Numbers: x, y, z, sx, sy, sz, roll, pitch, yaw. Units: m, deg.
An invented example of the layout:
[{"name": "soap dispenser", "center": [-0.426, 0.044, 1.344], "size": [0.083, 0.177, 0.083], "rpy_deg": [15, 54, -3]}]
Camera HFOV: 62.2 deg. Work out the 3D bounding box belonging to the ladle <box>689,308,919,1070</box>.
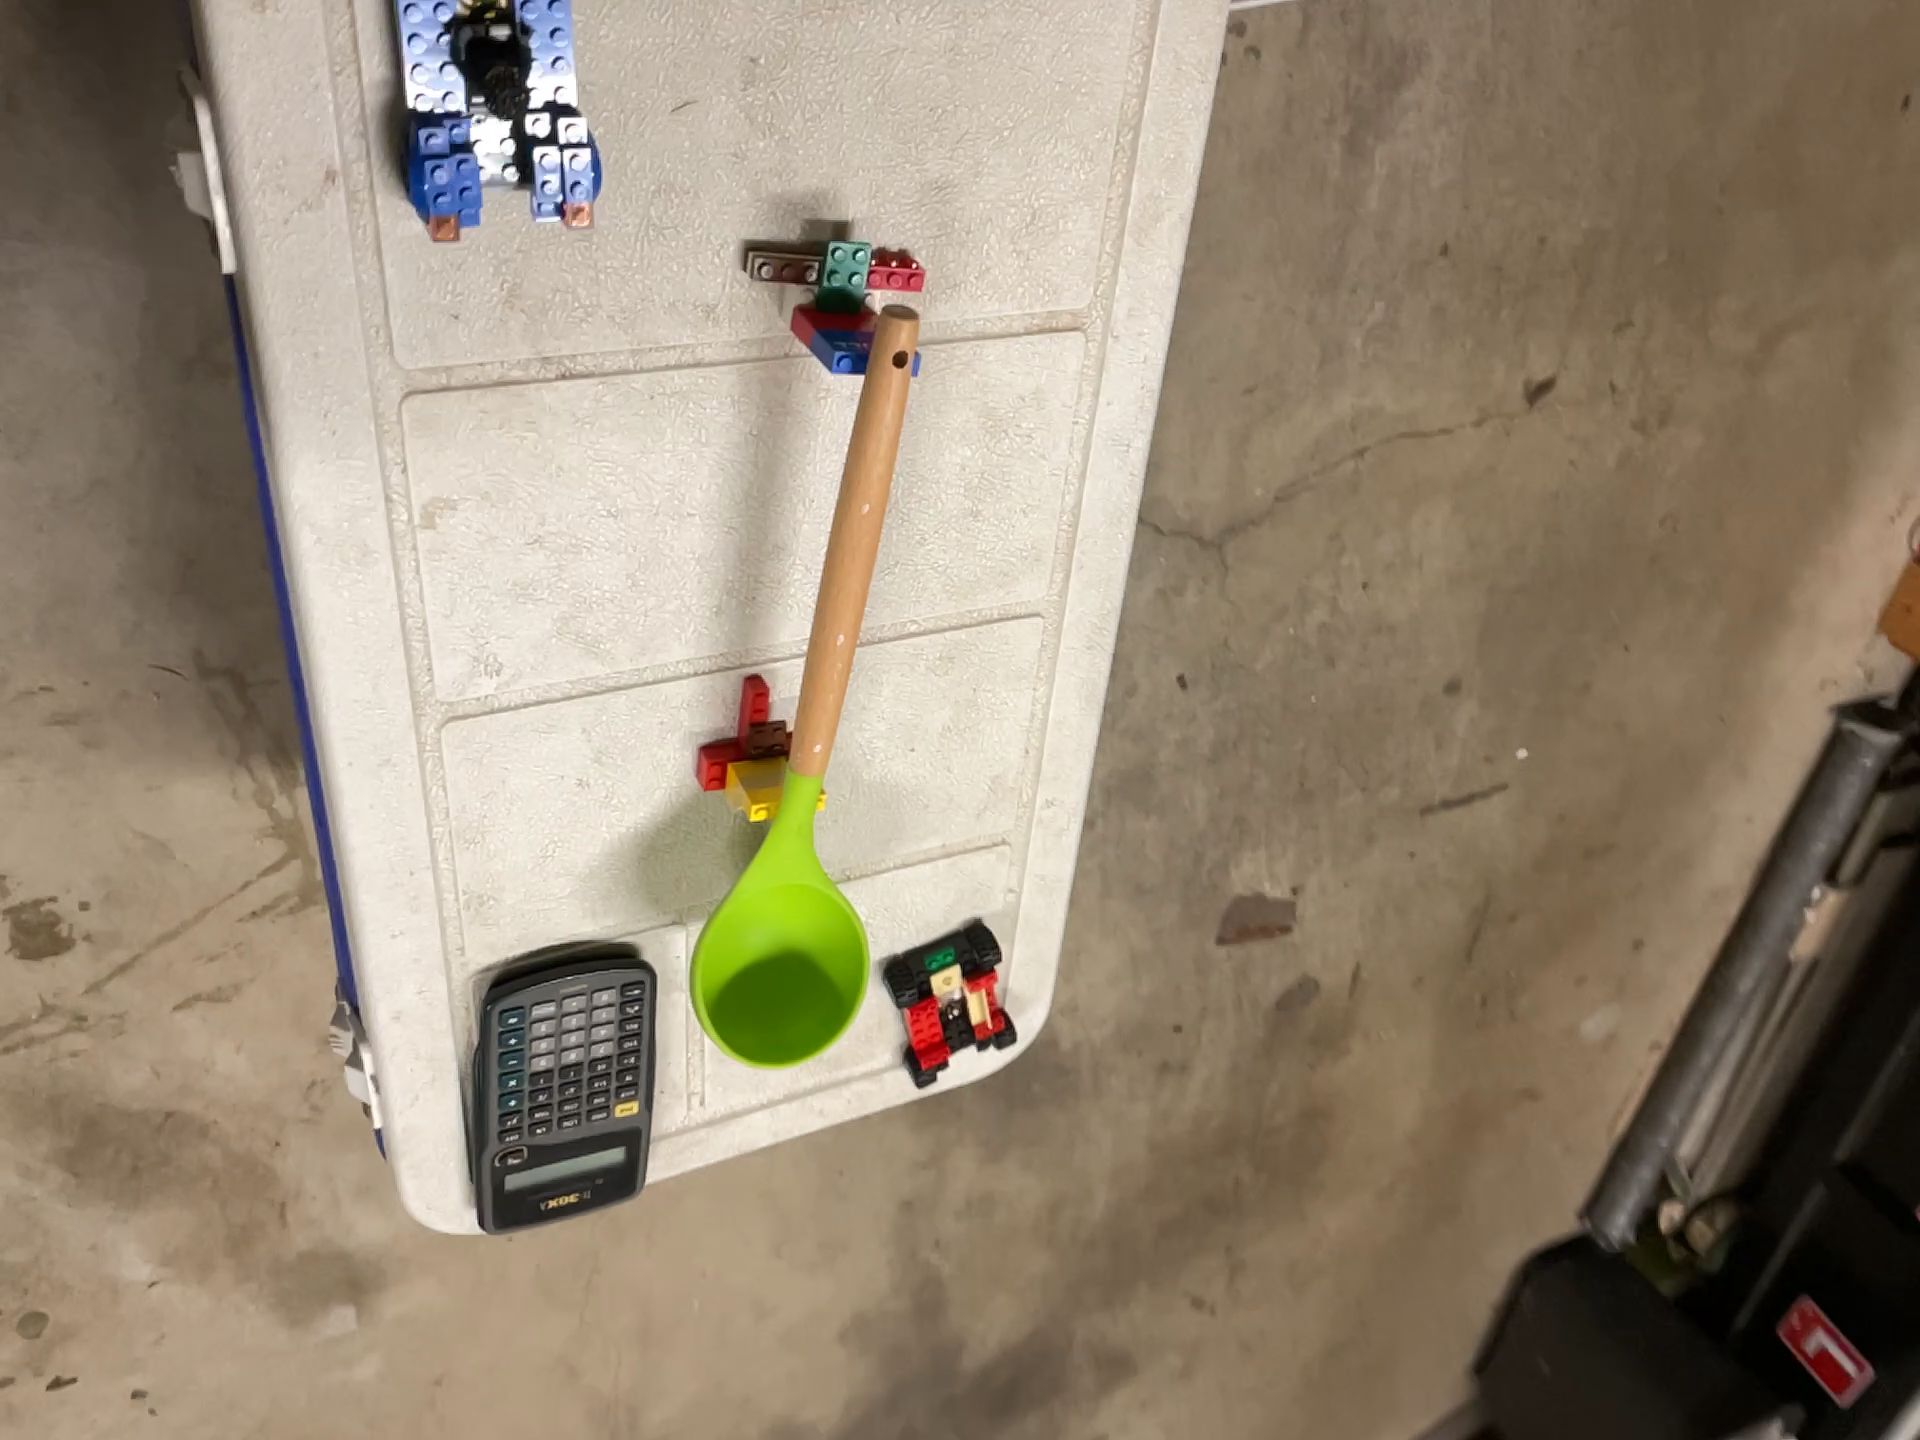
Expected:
[{"name": "ladle", "center": [-0.049, 0.004, 0.596], "size": [0.078, 0.062, 0.319], "rpy_deg": [-5, 128, -28]}]
